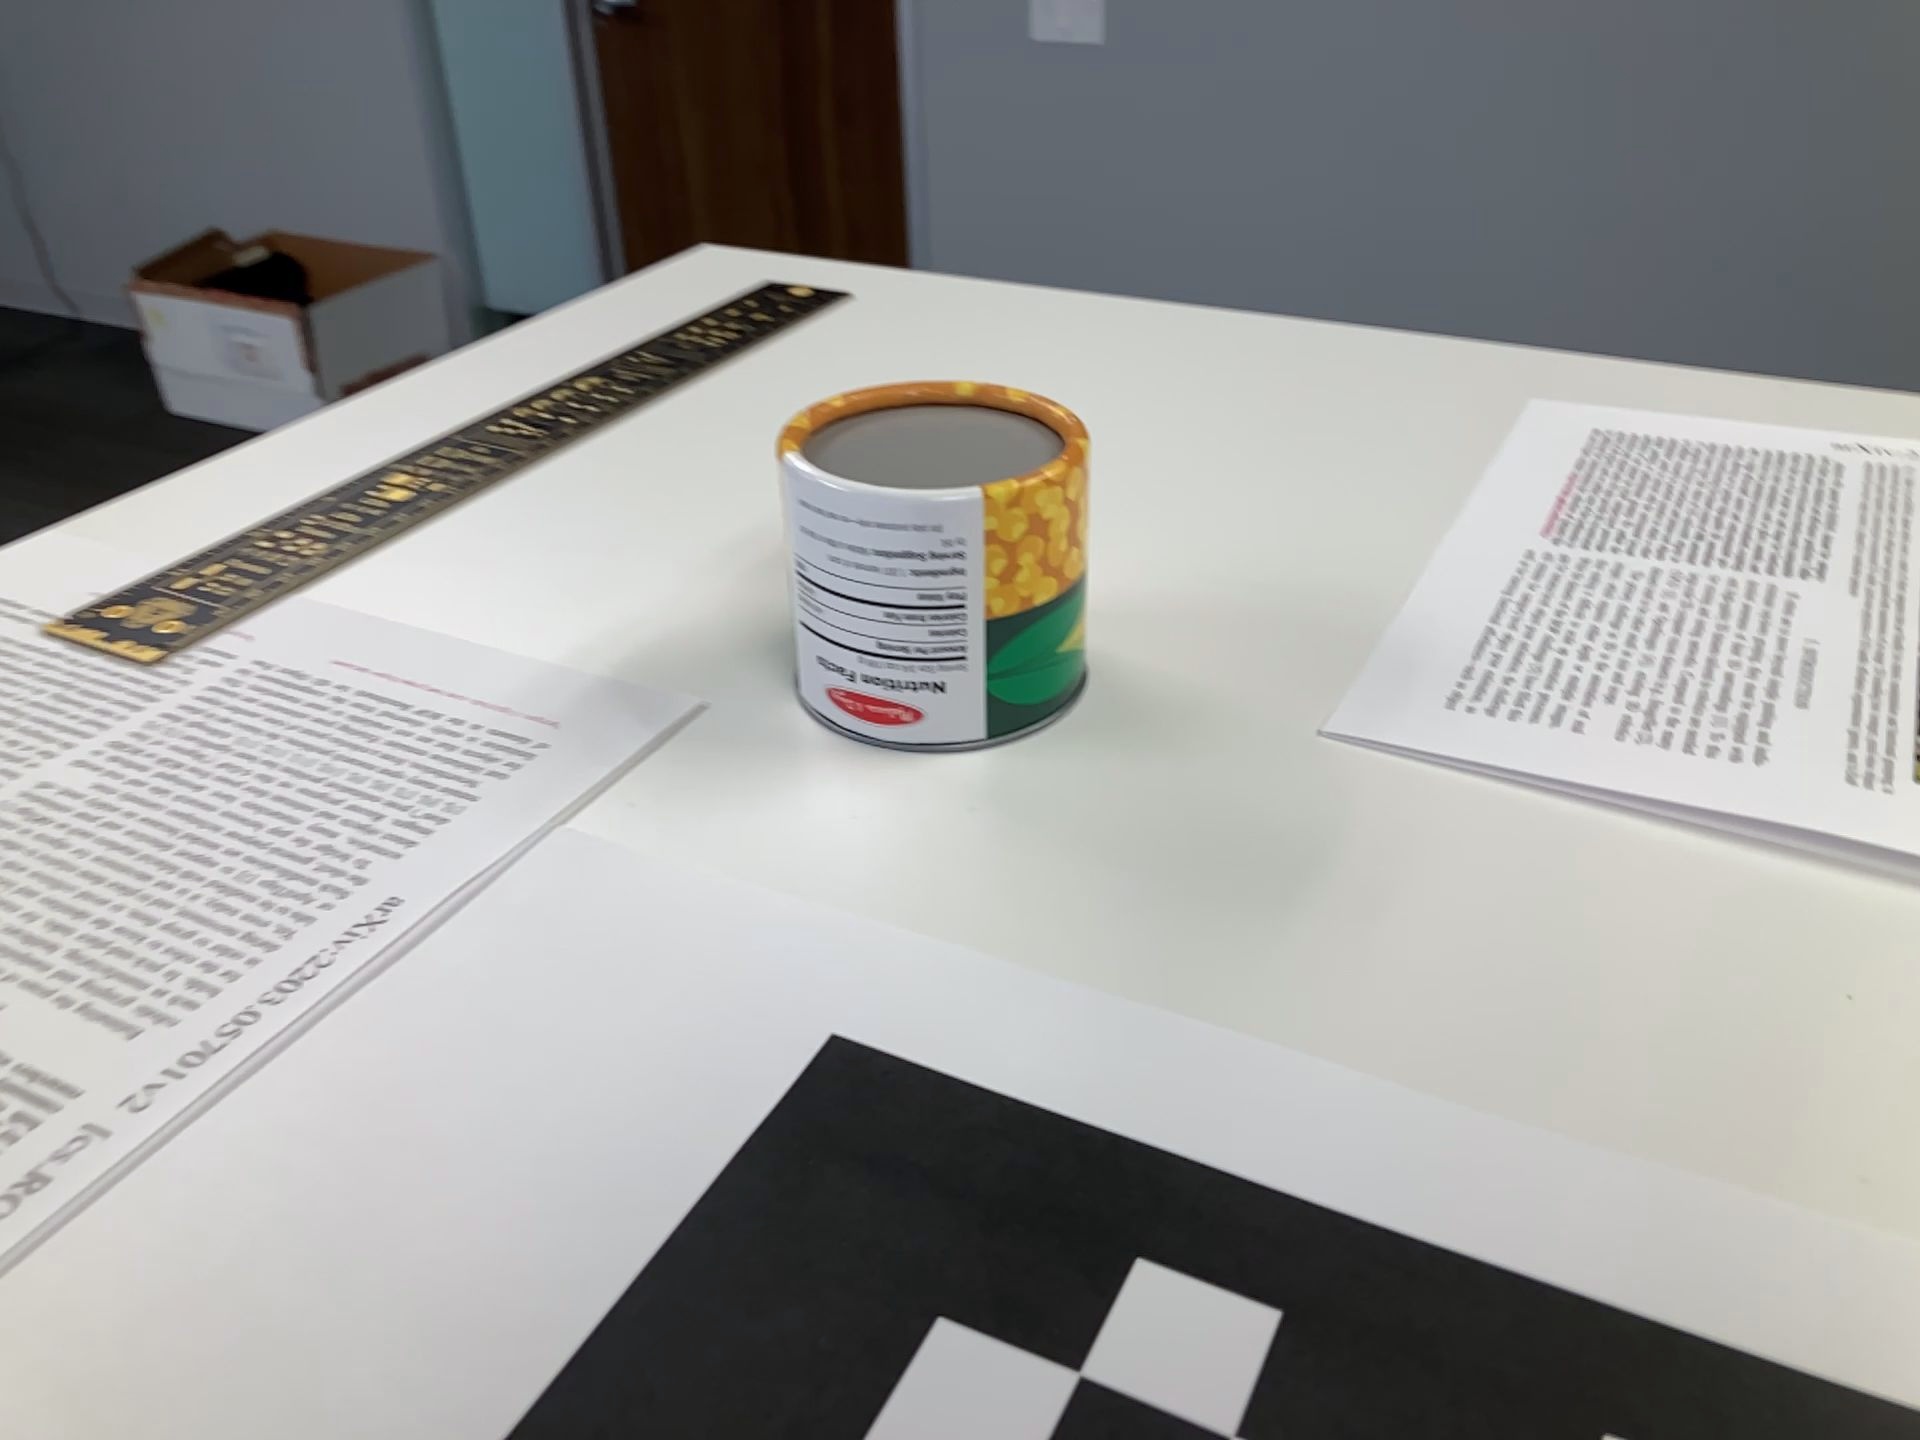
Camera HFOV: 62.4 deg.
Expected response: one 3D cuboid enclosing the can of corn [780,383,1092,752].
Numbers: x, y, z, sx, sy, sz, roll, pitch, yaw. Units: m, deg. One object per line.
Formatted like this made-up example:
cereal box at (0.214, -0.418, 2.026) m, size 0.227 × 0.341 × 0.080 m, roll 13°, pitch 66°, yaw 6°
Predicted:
can of corn at (-0.004, -0.036, 0.347) m, size 0.071 × 0.058 × 0.071 m, roll -1°, pitch 31°, yaw 1°
